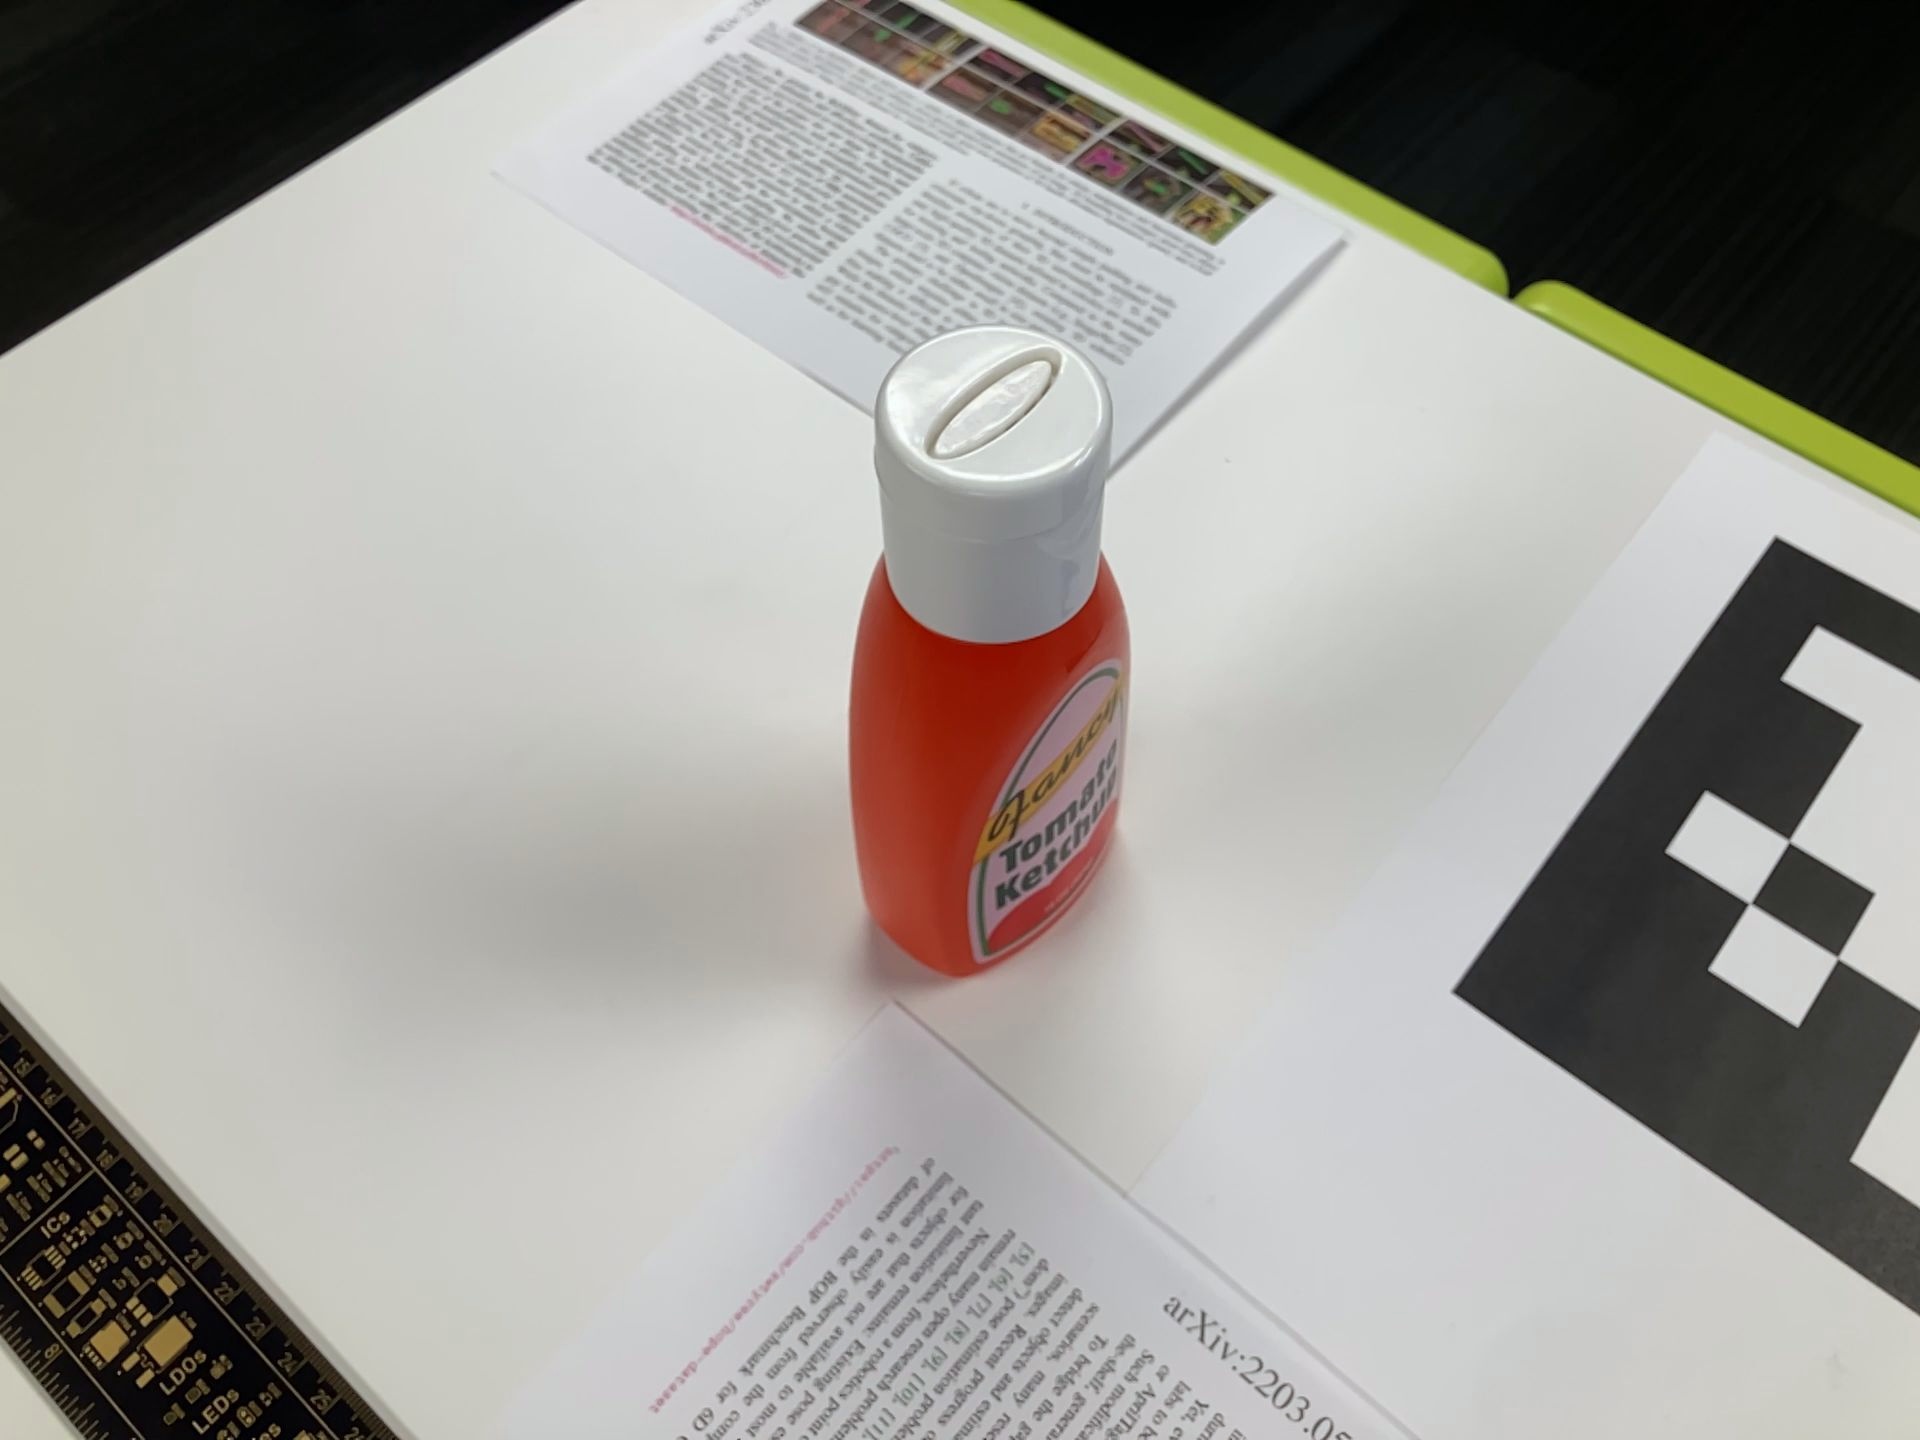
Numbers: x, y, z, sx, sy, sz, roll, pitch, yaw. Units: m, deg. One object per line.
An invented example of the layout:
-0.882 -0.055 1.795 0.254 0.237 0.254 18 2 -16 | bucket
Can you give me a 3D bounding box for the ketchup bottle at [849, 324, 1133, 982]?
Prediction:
0.006 -0.007 0.301 0.043 0.149 0.065 36 65 22 | ketchup bottle
